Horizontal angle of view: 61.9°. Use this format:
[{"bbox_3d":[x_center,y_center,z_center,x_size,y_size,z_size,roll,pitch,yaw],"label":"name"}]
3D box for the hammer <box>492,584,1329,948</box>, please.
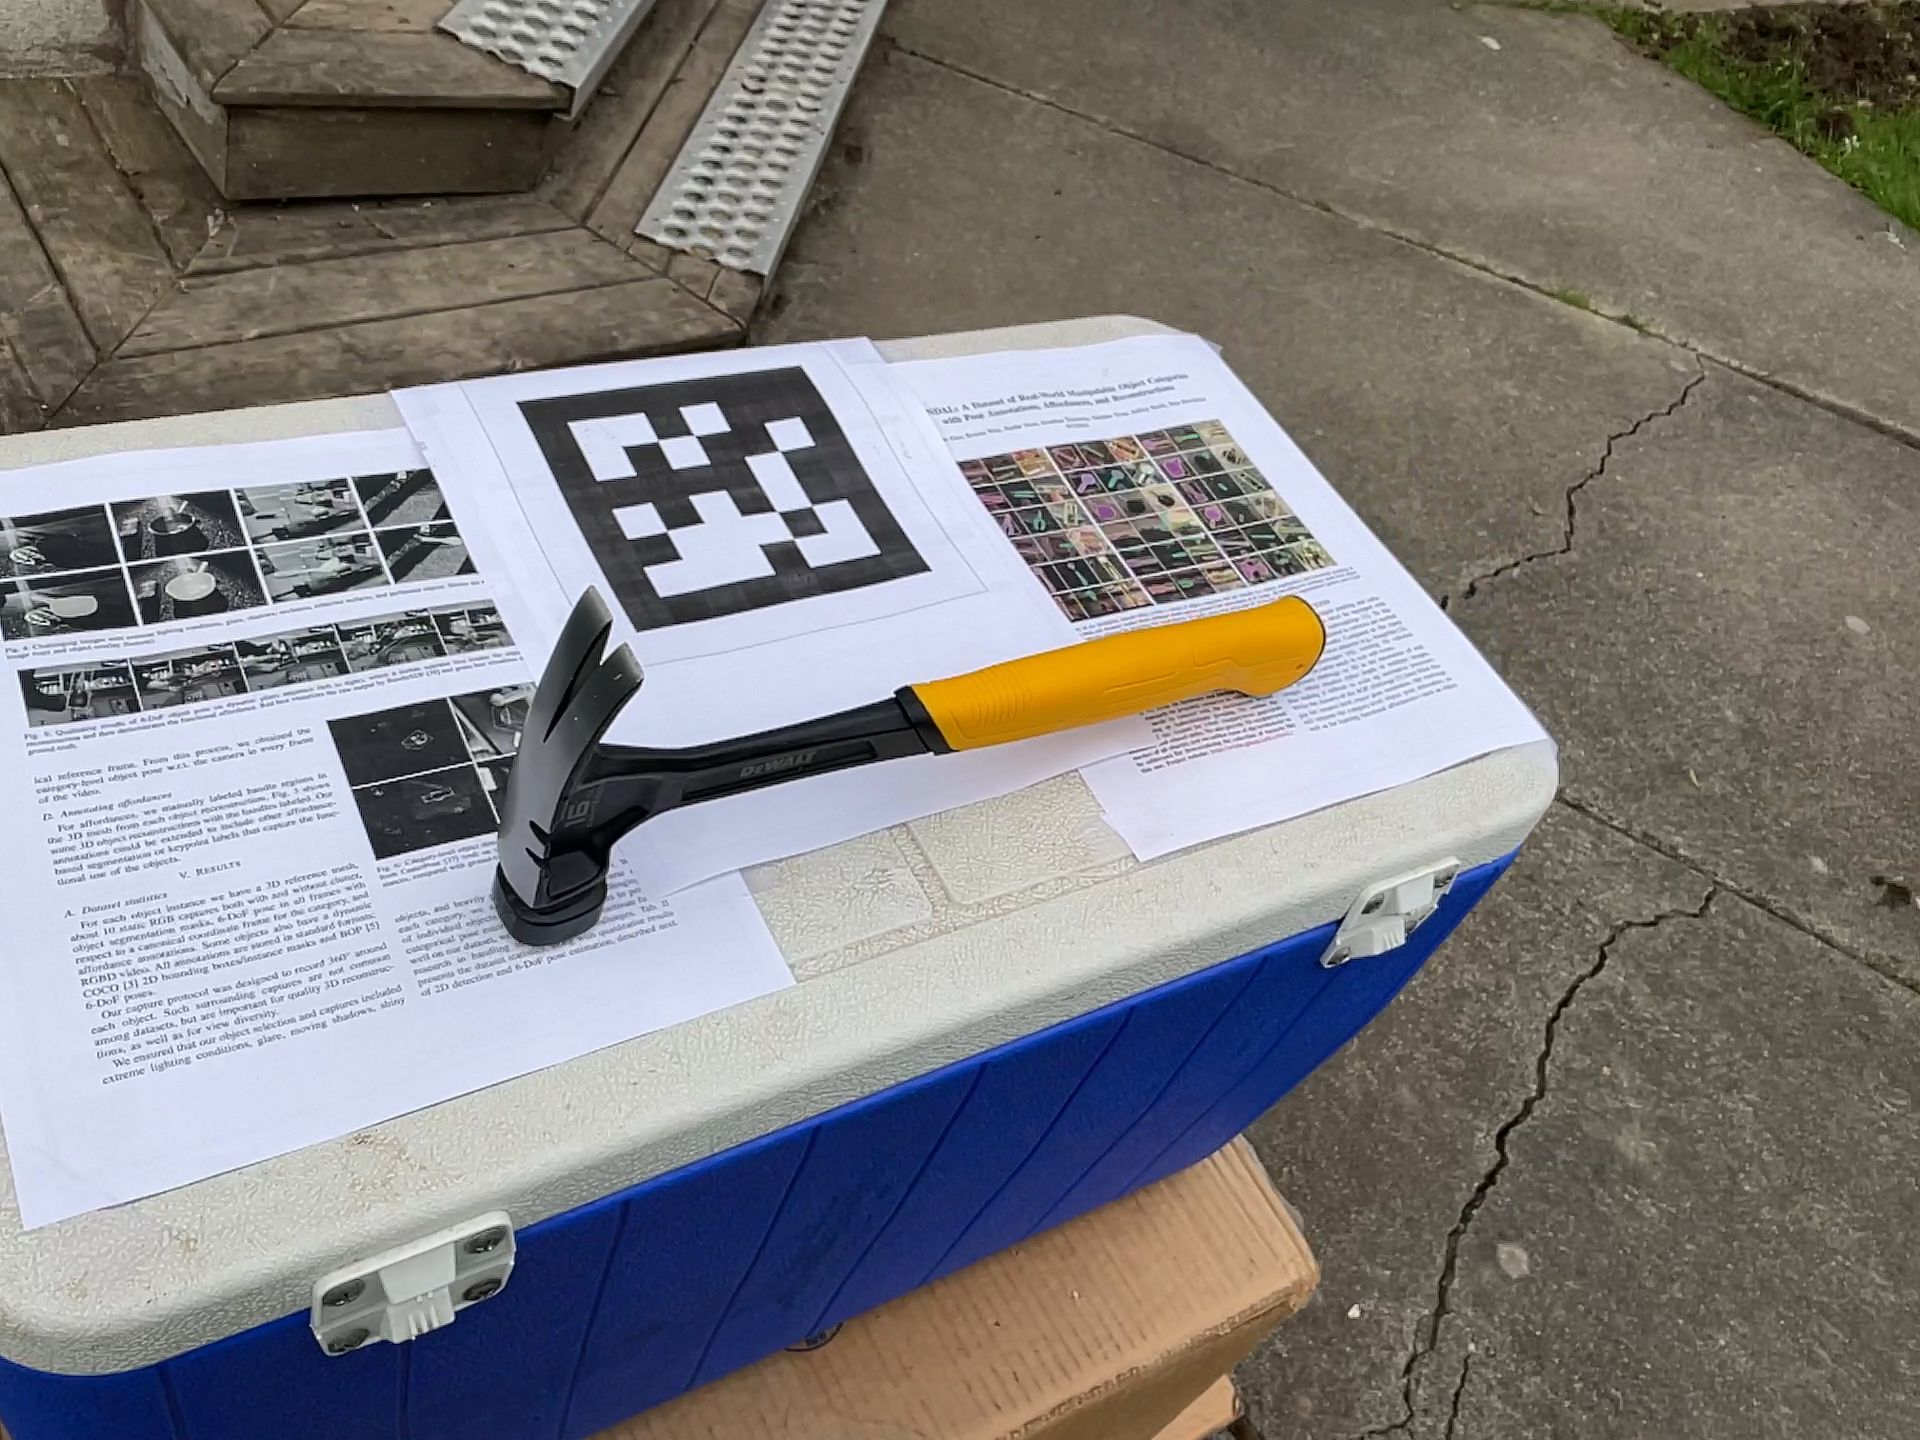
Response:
[{"bbox_3d":[0.010,-0.009,0.551,0.336,0.127,0.034,-13,55,-36],"label":"hammer"}]
